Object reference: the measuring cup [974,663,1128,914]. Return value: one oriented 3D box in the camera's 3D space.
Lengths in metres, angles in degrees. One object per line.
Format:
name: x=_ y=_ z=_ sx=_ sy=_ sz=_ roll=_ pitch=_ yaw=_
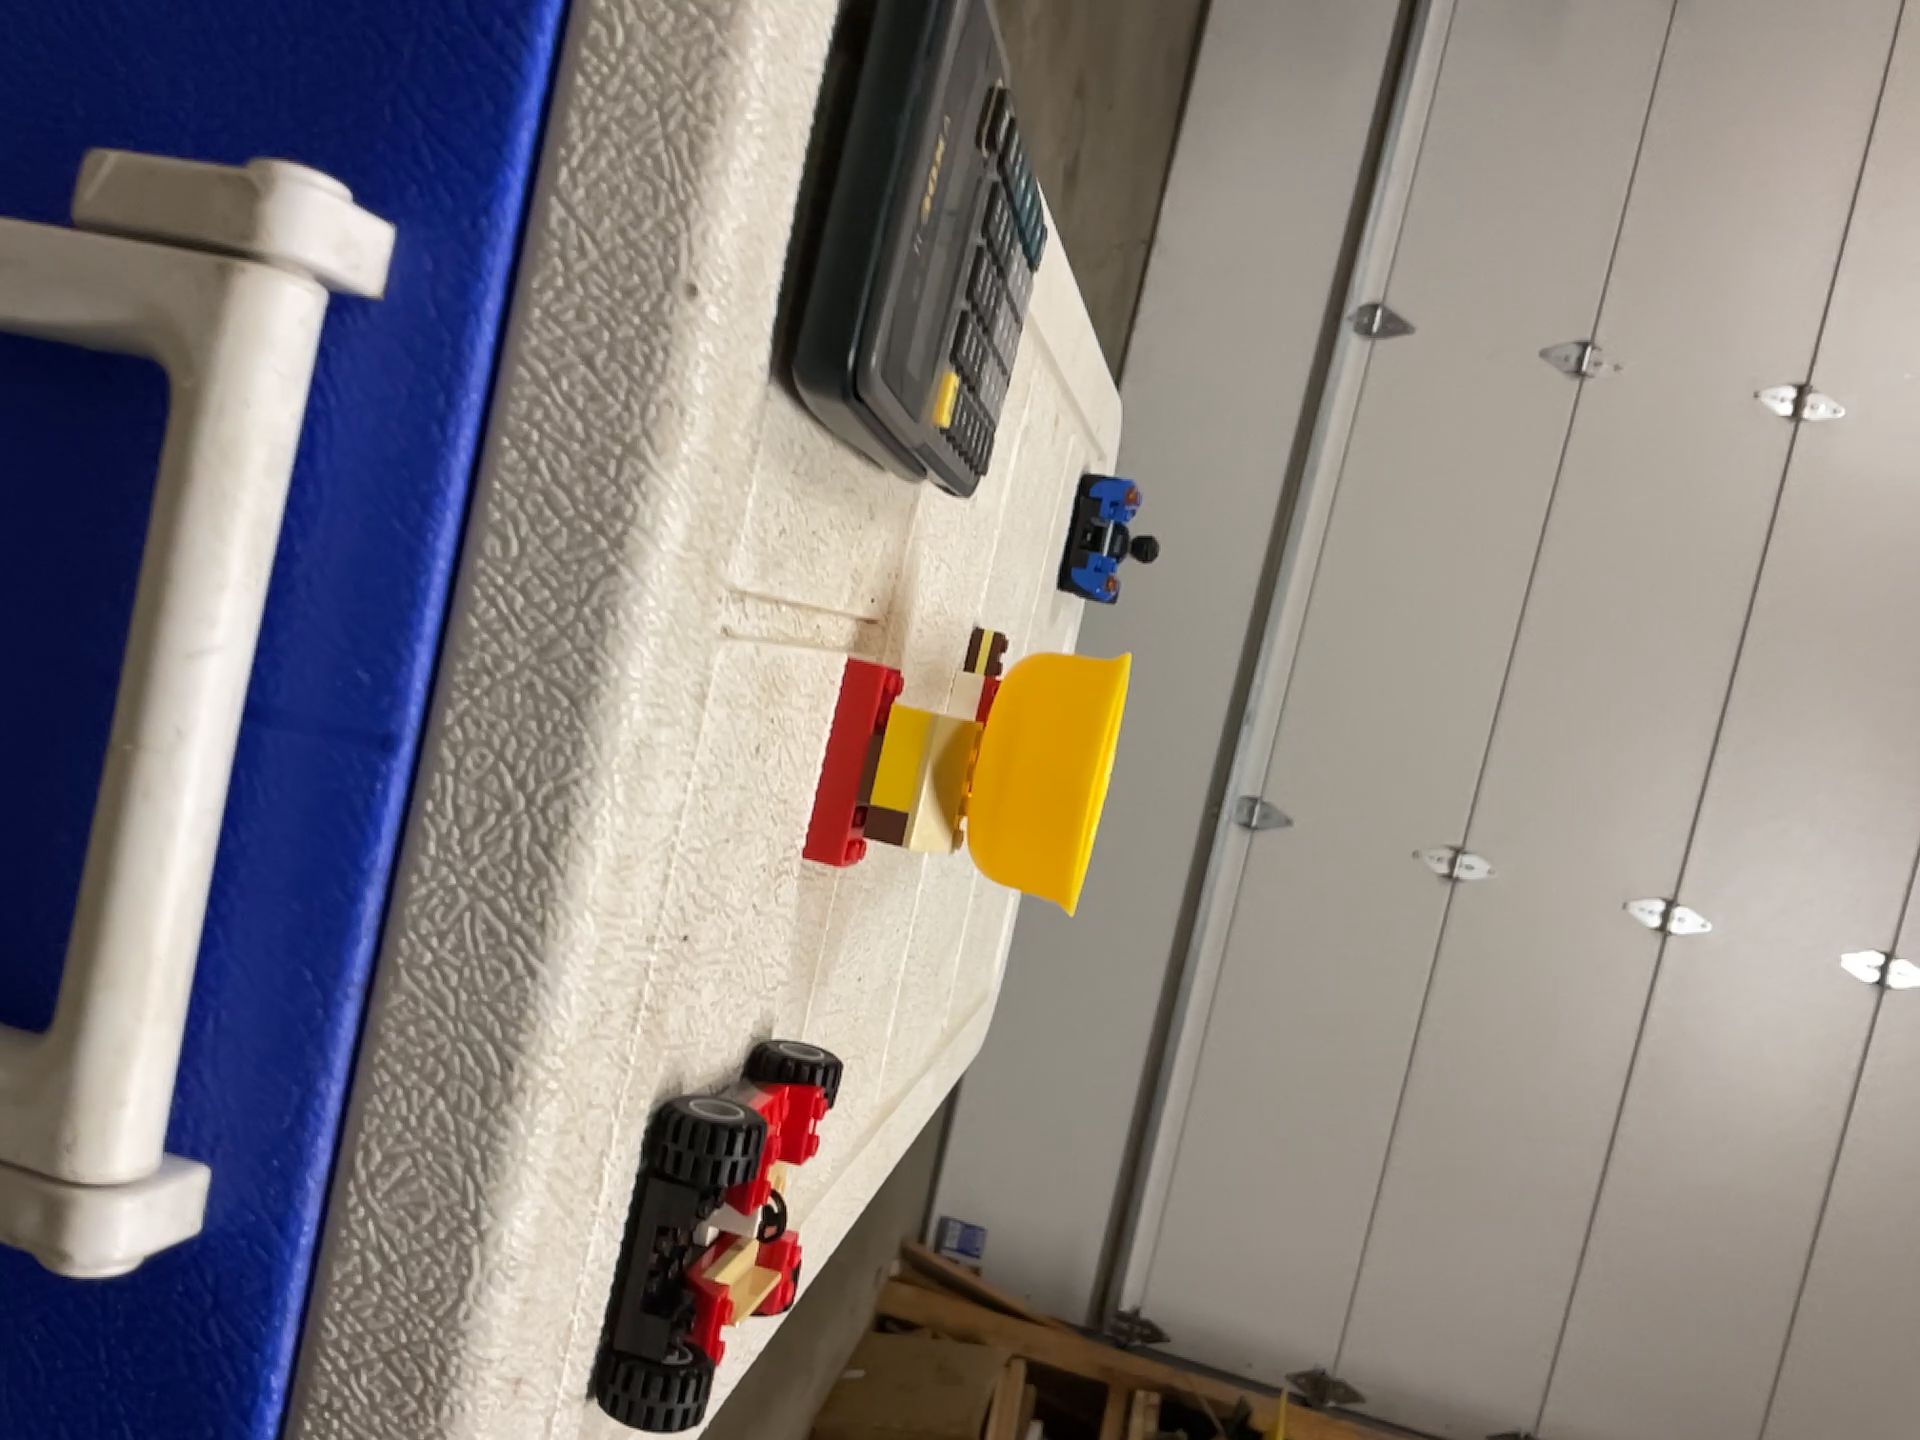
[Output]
measuring cup: x=0.026 y=0.012 z=0.438 sx=0.156 sy=0.029 sz=0.062 roll=-17 pitch=119 yaw=-84
